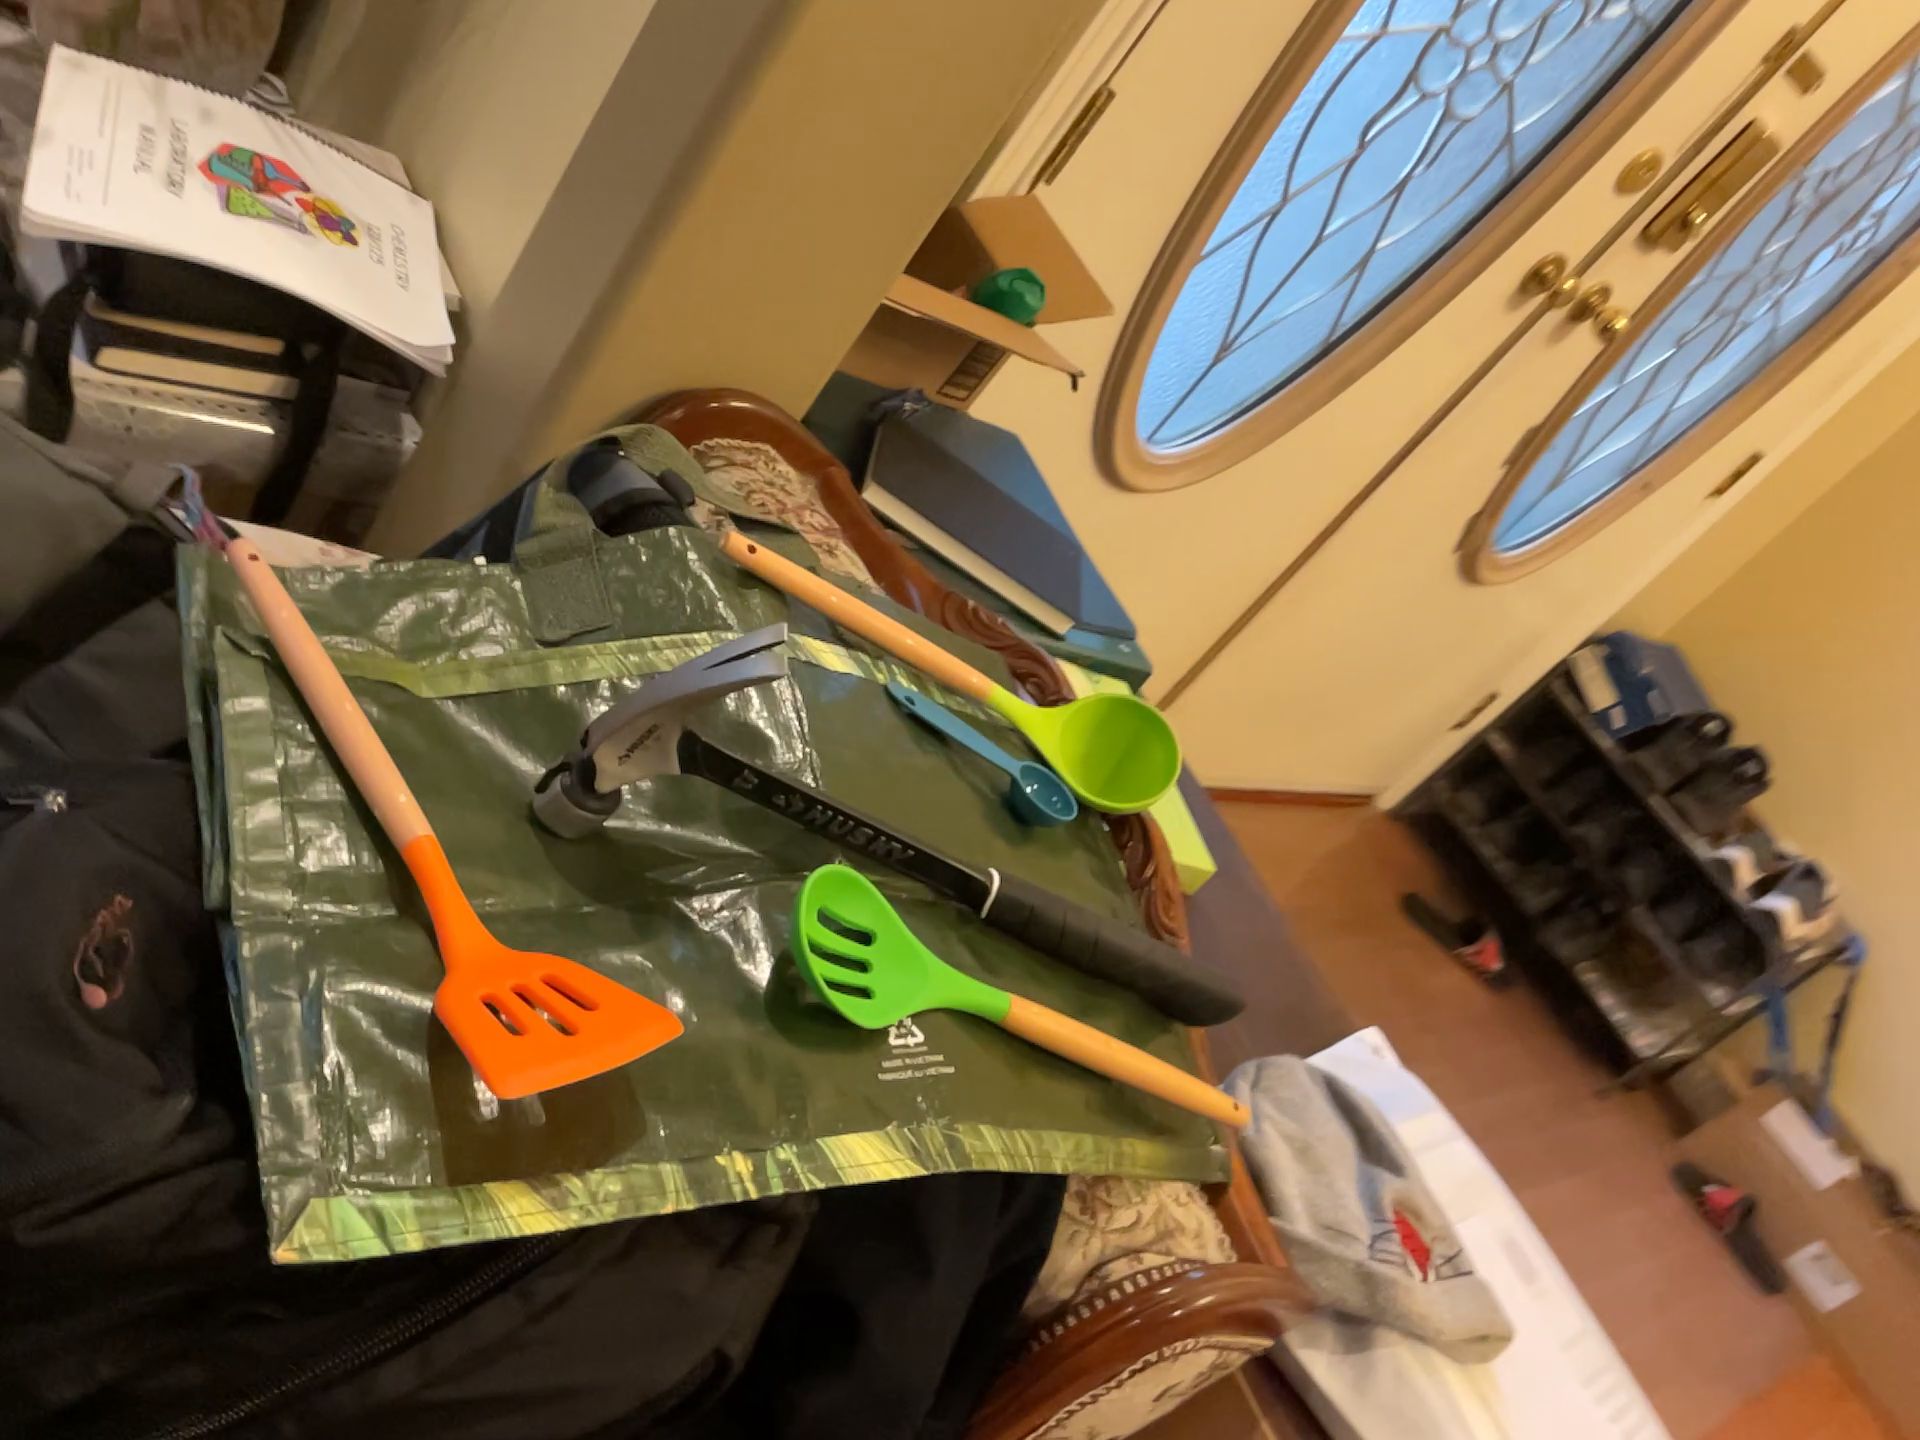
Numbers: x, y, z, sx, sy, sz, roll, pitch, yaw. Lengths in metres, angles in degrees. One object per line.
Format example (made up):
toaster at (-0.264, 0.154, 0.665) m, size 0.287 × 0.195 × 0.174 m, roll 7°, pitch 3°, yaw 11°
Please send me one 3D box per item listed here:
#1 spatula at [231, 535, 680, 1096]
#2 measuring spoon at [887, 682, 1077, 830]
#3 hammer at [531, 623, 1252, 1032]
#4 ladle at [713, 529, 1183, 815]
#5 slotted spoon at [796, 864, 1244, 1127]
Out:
spatula at (-0.230, 0.027, 0.652) m, size 0.081 × 0.041 × 0.323 m, roll -11°, pitch 53°, yaw -45°
measuring spoon at (0.008, 0.022, 0.869) m, size 0.128 × 0.021 × 0.042 m, roll 35°, pitch 27°, yaw -12°
hammer at (0.004, 0.077, 0.787) m, size 0.408 × 0.149 × 0.036 m, roll 29°, pitch 39°, yaw -33°
ladle at (0.002, -0.030, 0.893) m, size 0.319 × 0.062 × 0.078 m, roll 29°, pitch 55°, yaw -32°
slotted spoon at (0.037, 0.147, 0.757) m, size 0.313 × 0.031 × 0.070 m, roll 31°, pitch 44°, yaw -35°
